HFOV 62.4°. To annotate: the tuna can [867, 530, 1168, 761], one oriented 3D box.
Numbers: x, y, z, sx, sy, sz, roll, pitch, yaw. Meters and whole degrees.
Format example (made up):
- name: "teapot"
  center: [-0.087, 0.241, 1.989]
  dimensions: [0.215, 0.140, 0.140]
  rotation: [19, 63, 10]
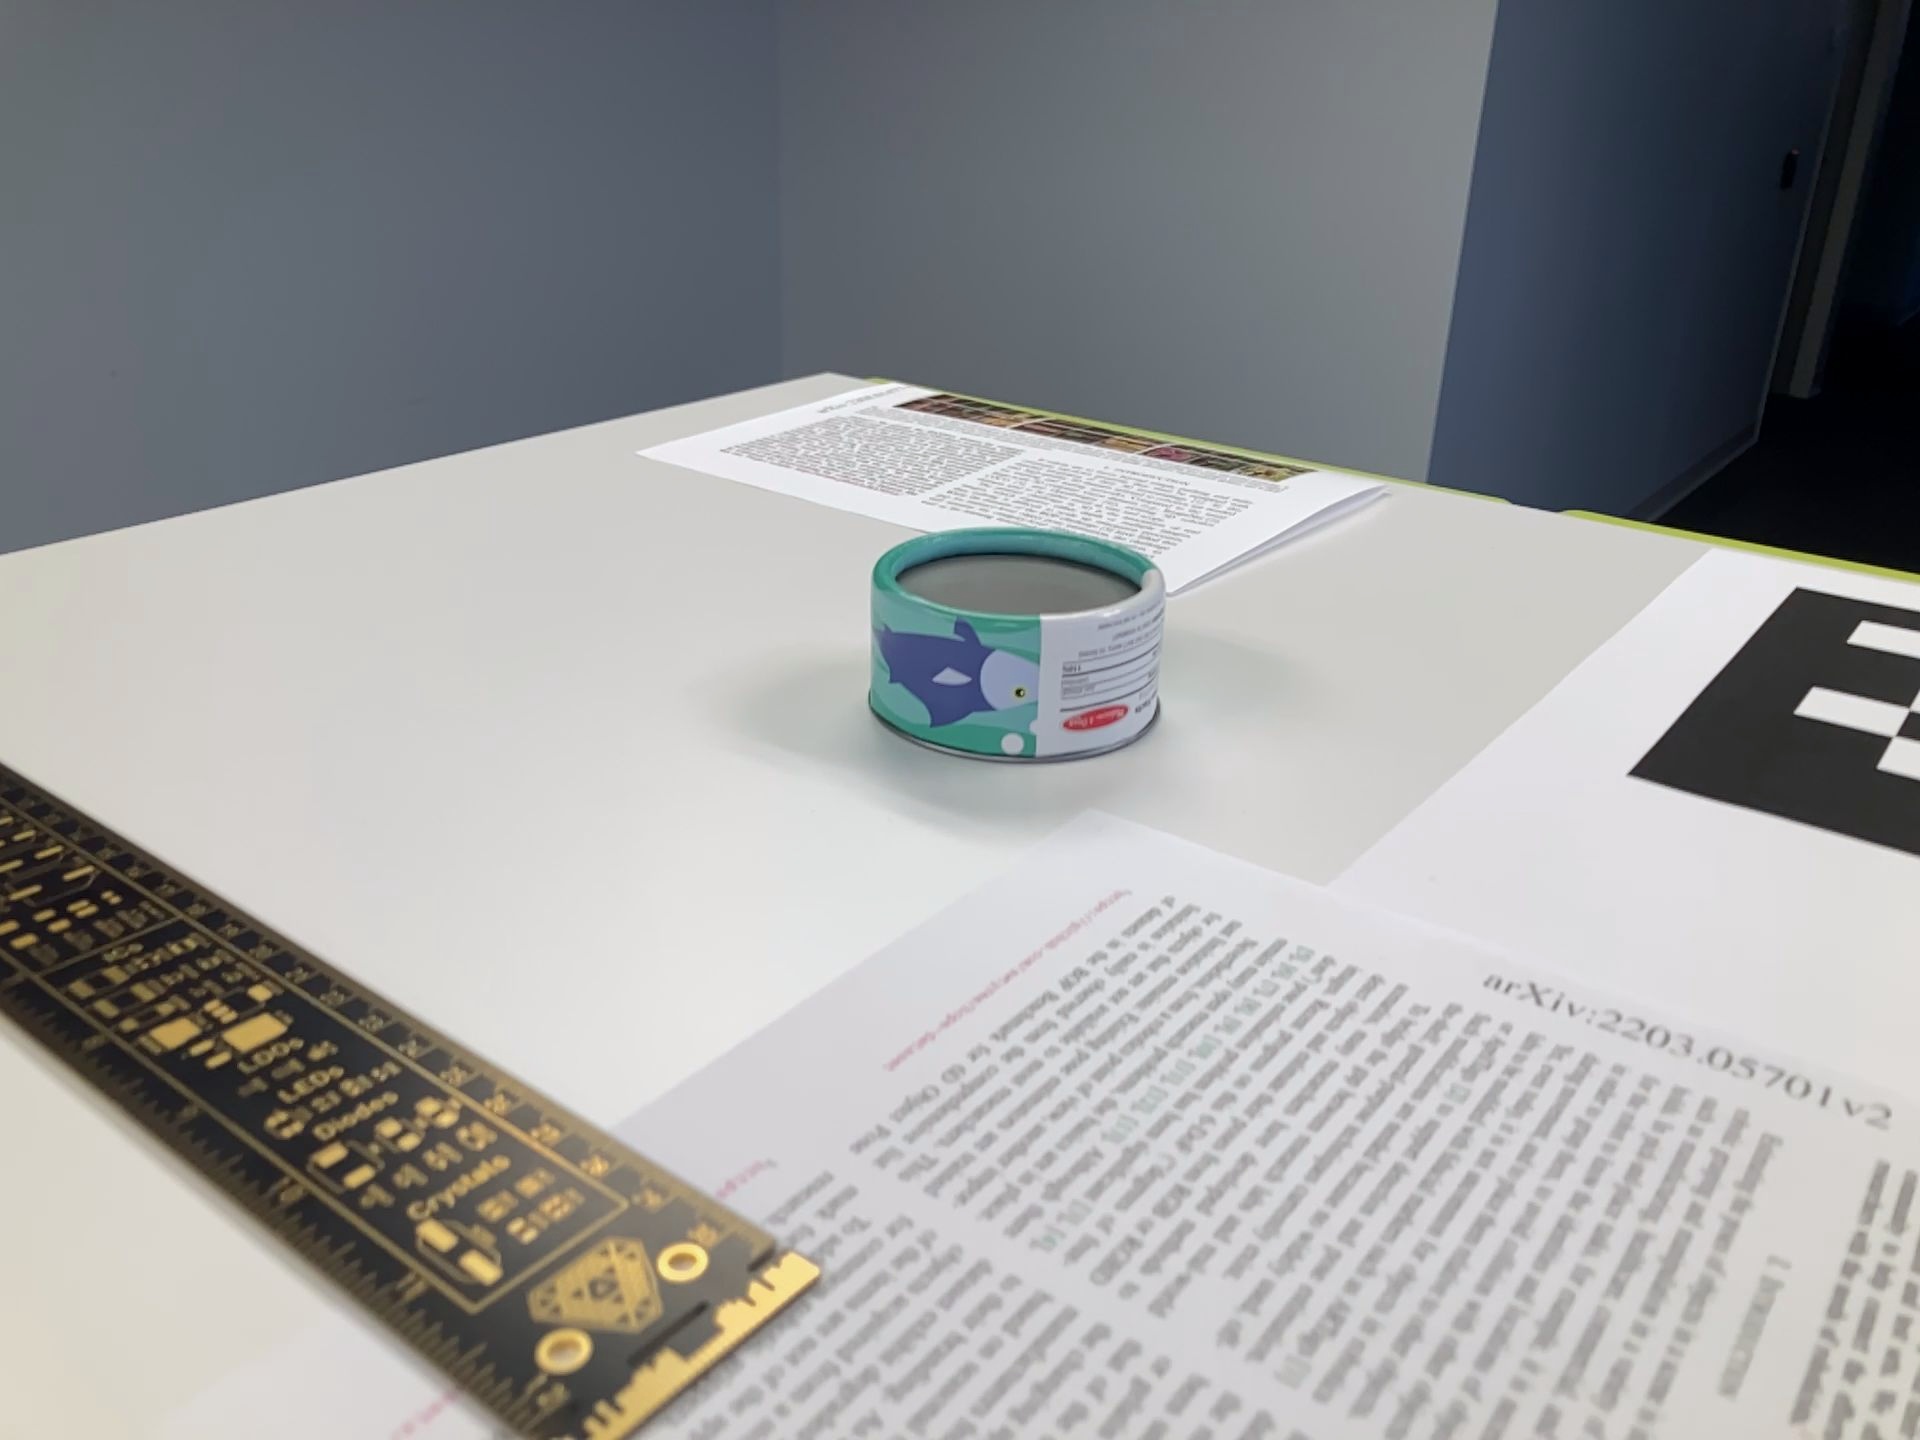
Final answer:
- name: "tuna can"
  center: [0.011, -0.019, 0.354]
  dimensions: [0.071, 0.033, 0.071]
  rotation: [2, 22, -1]
